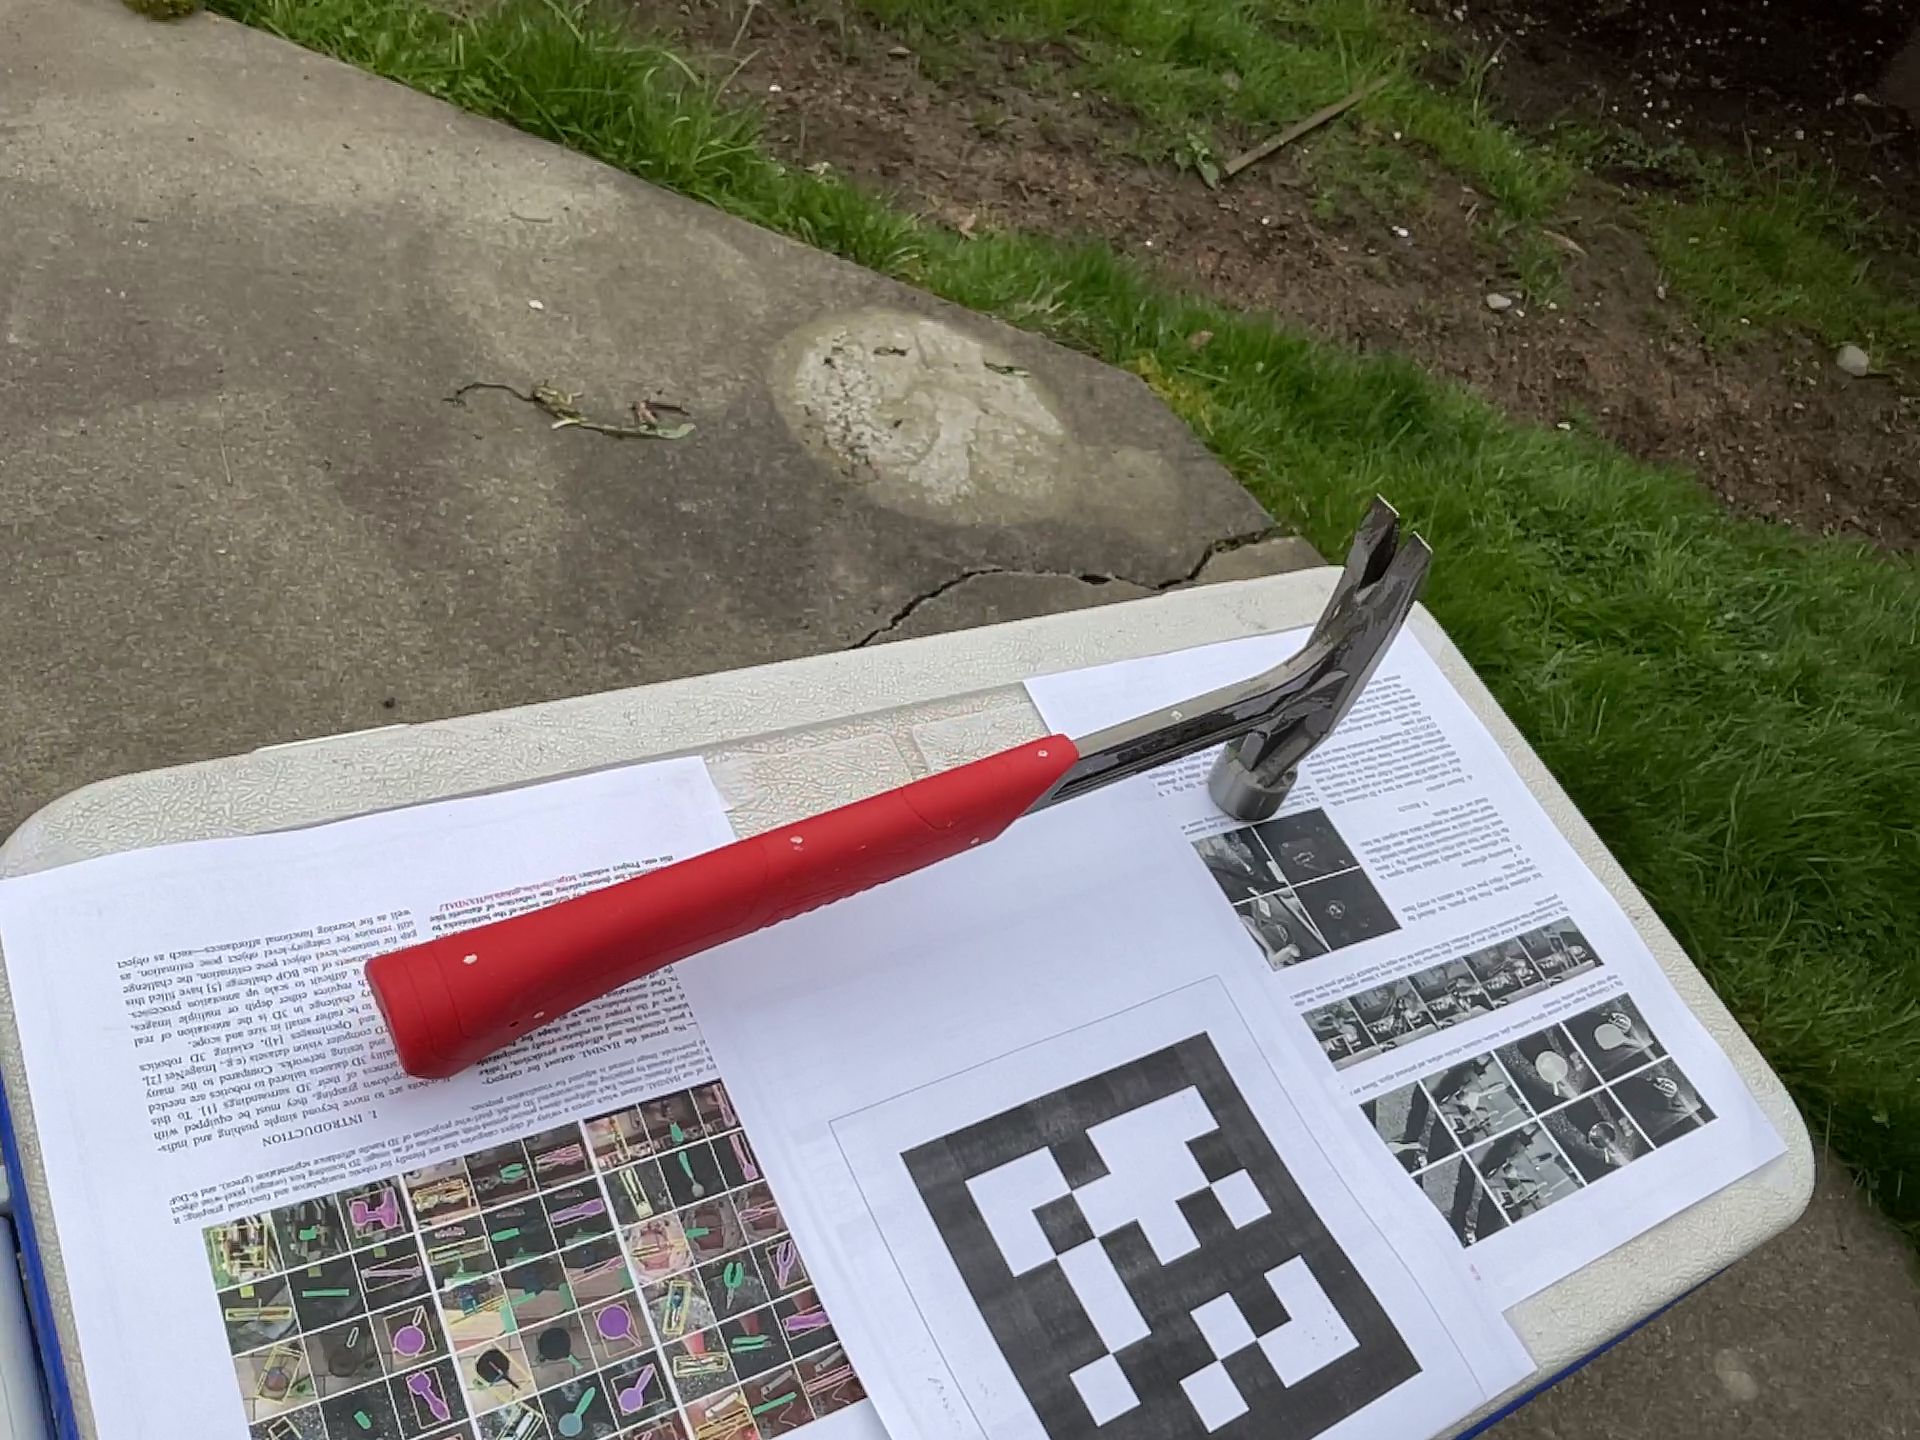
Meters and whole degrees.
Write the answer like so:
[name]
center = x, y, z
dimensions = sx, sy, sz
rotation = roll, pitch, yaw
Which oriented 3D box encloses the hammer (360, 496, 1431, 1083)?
[hammer]
center = -0.006, 0.027, 0.515
dimensions = 0.359, 0.149, 0.037
rotation = -18, 57, -28
